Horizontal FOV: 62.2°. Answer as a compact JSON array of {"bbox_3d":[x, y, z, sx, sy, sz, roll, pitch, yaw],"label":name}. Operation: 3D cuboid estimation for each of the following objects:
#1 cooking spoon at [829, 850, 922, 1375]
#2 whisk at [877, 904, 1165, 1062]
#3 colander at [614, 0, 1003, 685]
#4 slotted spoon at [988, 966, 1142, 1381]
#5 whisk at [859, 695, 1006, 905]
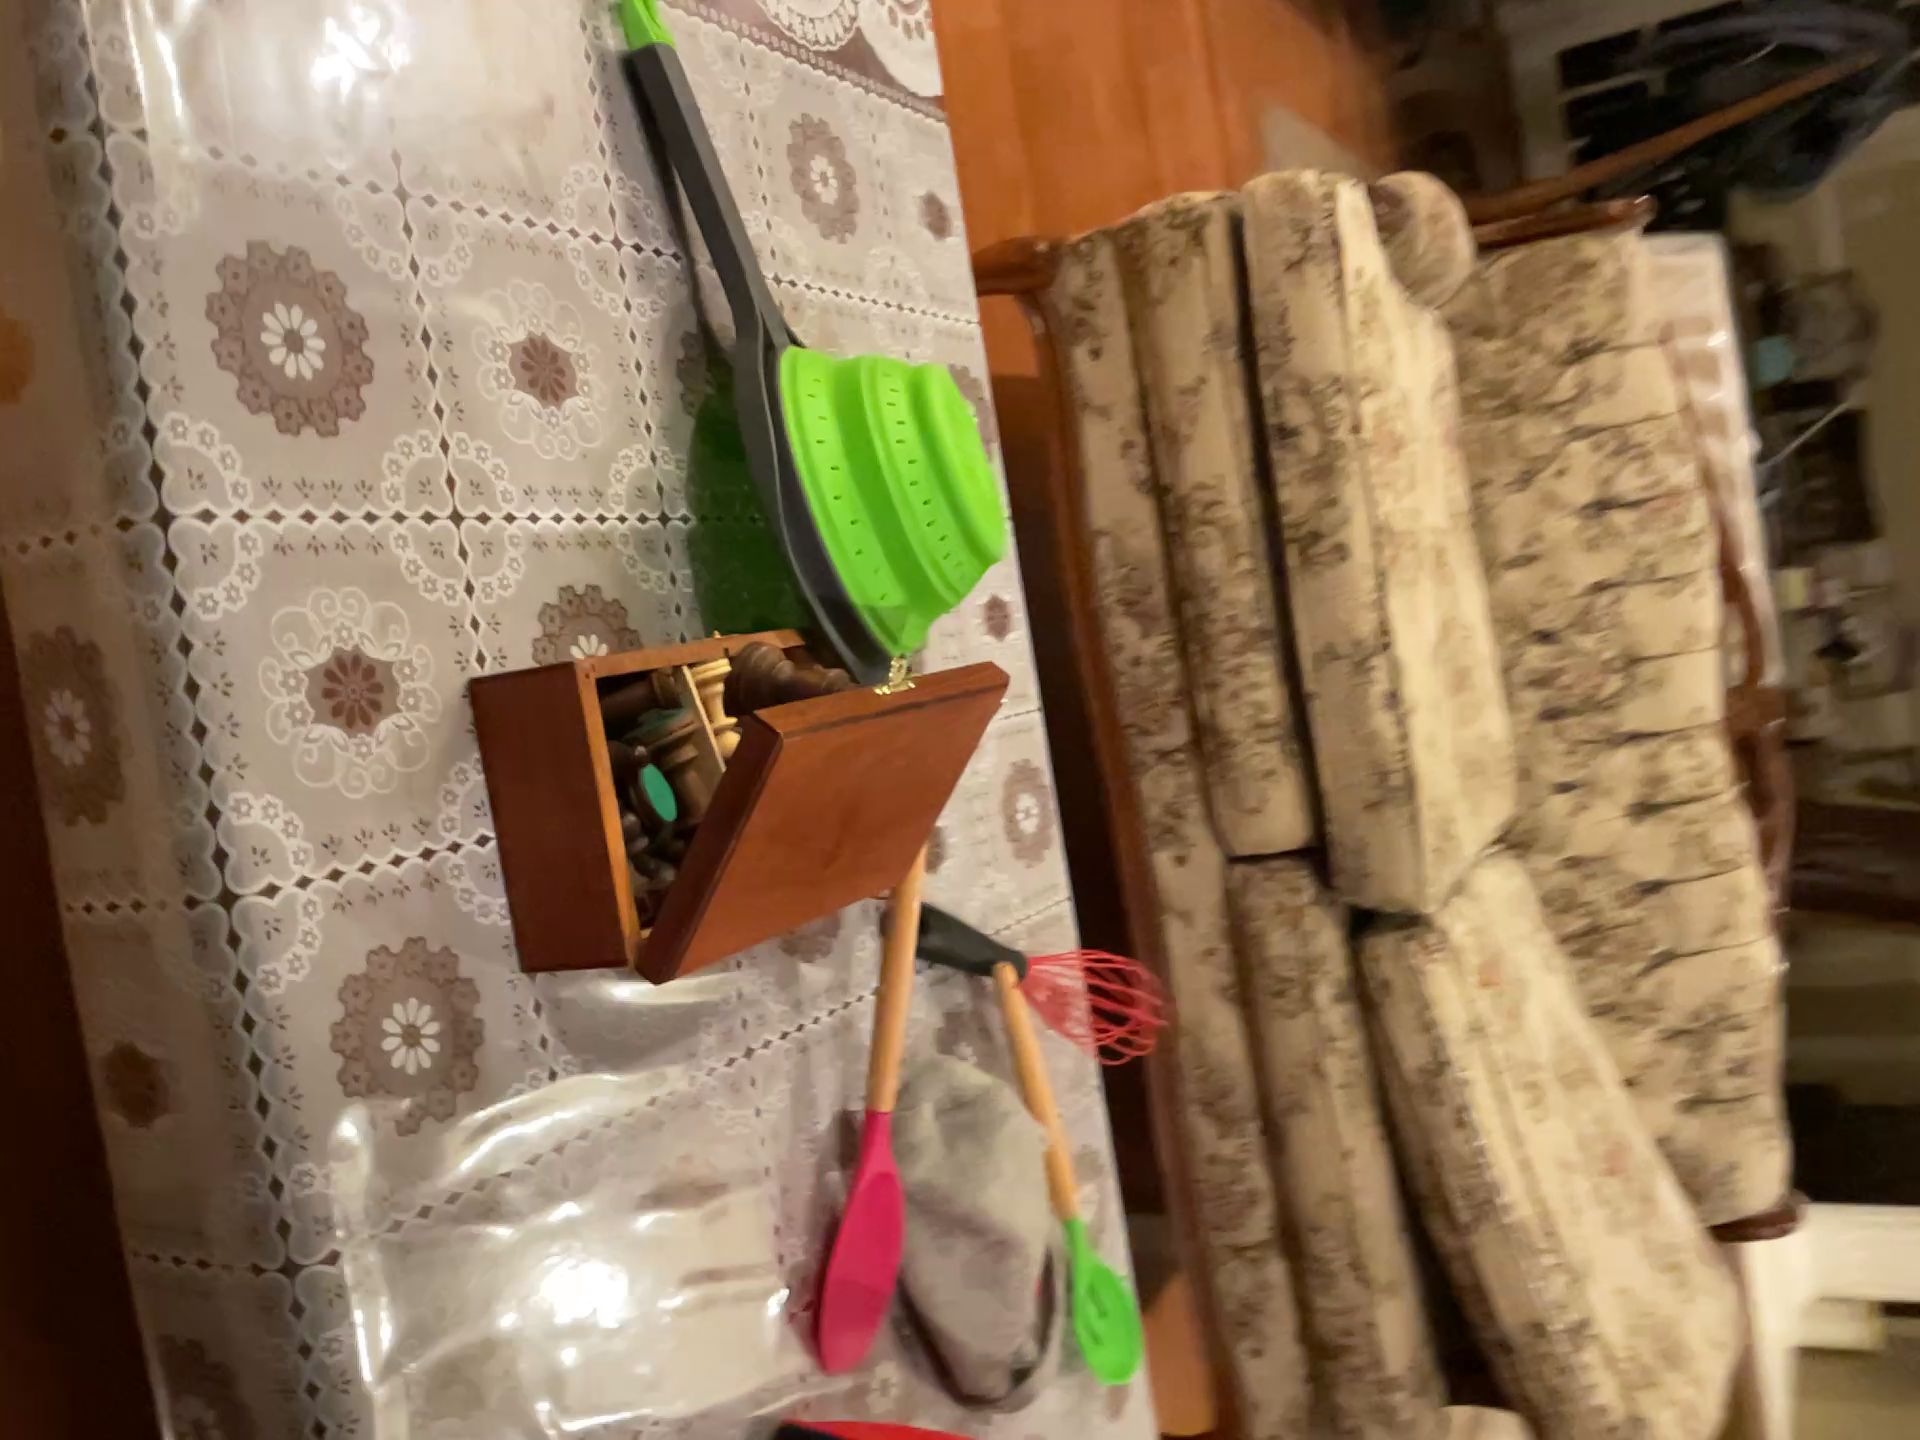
[{"bbox_3d":[-0.040,0.181,0.838,0.068,0.017,0.319,10,85,-61],"label":"cooking spoon"},{"bbox_3d":[0.045,0.163,1.010,0.295,0.073,0.073,30,64,-47],"label":"whisk"},{"bbox_3d":[-0.066,-0.197,0.819,0.204,0.094,0.397,-57,127,-75],"label":"colander"},{"bbox_3d":[0.064,0.292,1.015,0.070,0.031,0.313,-46,125,-54],"label":"slotted spoon"},{"bbox_3d":[-0.025,0.034,0.938,0.246,0.059,0.057,-49,167,-55],"label":"whisk"}]
